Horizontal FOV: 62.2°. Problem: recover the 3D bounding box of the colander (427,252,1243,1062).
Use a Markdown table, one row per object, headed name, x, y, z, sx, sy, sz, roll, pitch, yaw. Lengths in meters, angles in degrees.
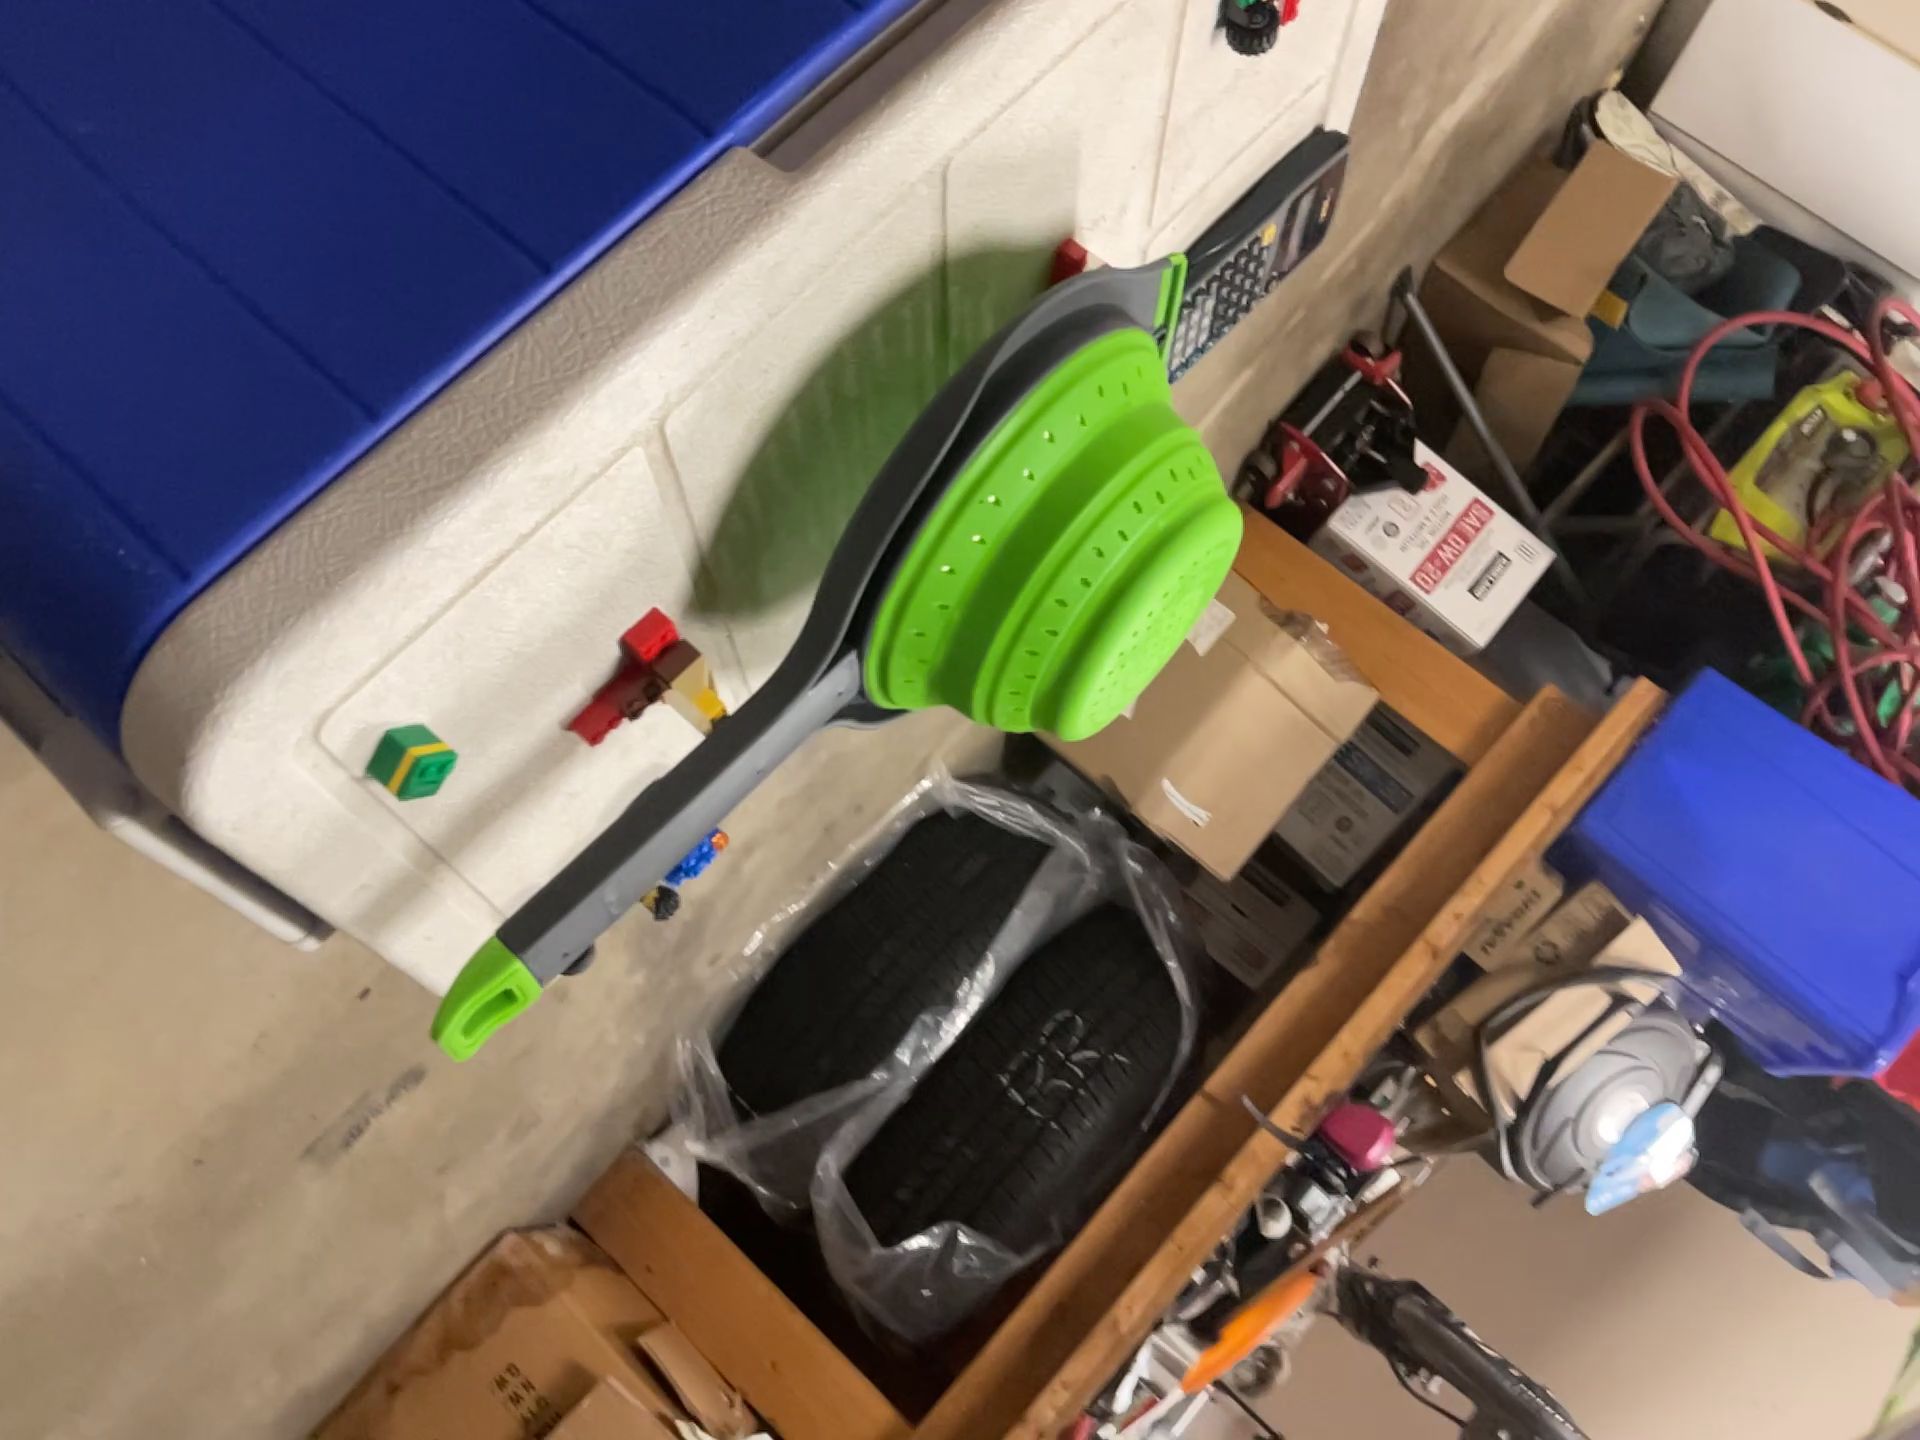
| name | x | y | z | sx | sy | sz | roll | pitch | yaw |
| --- | --- | --- | --- | --- | --- | --- | --- | --- | --- |
| colander | -0.013 | -0.006 | 0.578 | 0.397 | 0.094 | 0.204 | -45 | 164 | -21 |
